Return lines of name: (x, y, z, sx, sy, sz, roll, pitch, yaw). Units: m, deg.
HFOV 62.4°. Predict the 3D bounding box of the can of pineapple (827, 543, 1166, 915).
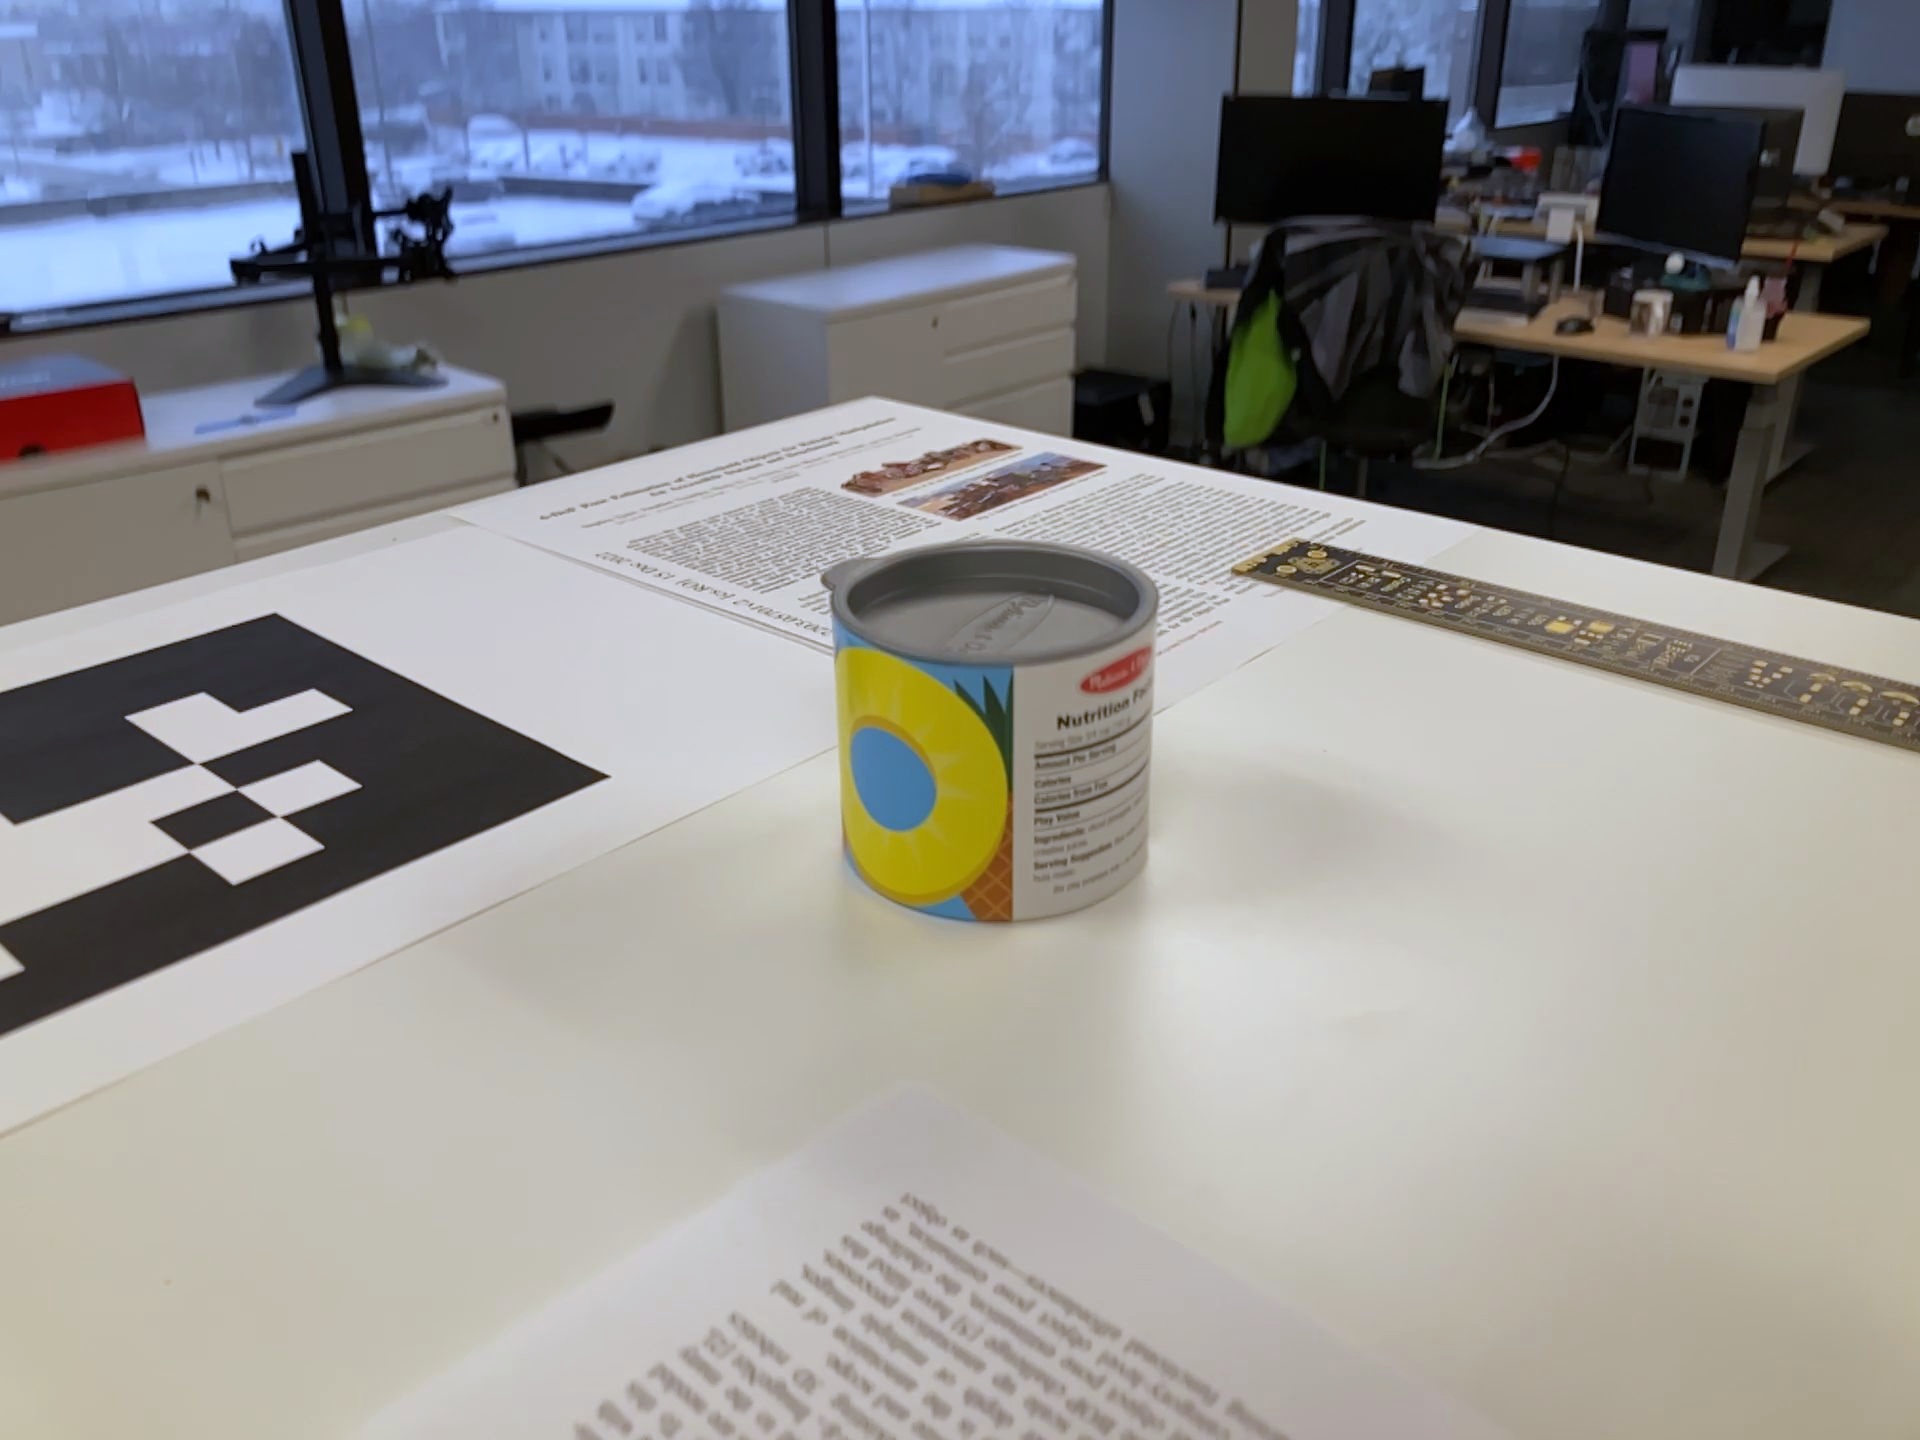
can of pineapple: (0.007, -0.001, 0.333, 0.071, 0.058, 0.071, 0, 24, 0)
